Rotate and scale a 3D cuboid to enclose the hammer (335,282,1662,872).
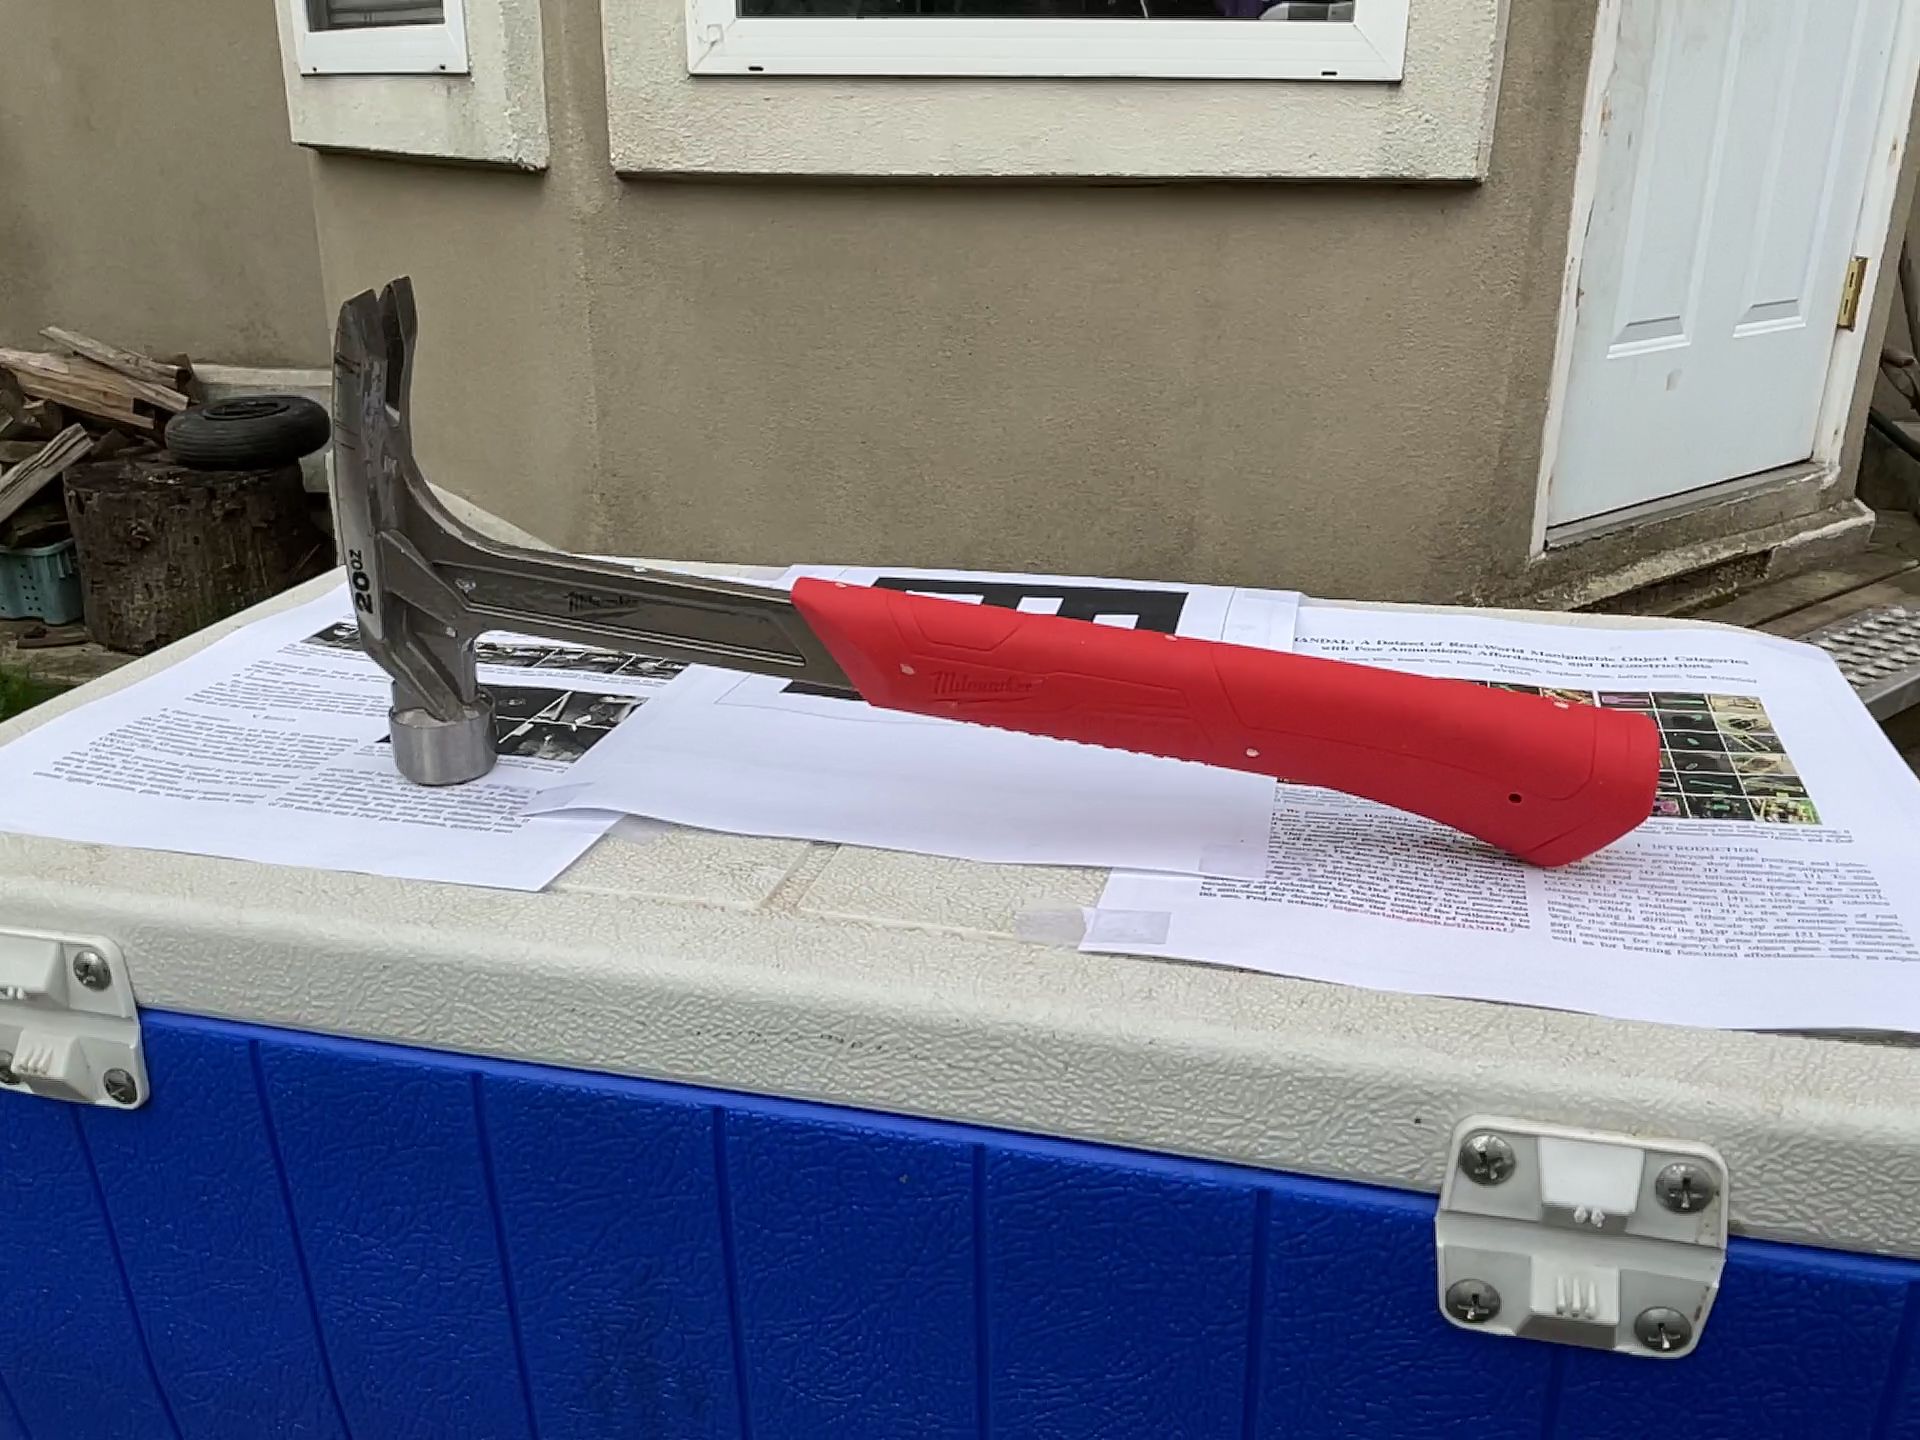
[{"bbox_3d":[0.003,-0.023,0.438,0.359,0.149,0.037,9,29,9],"label":"hammer"}]
